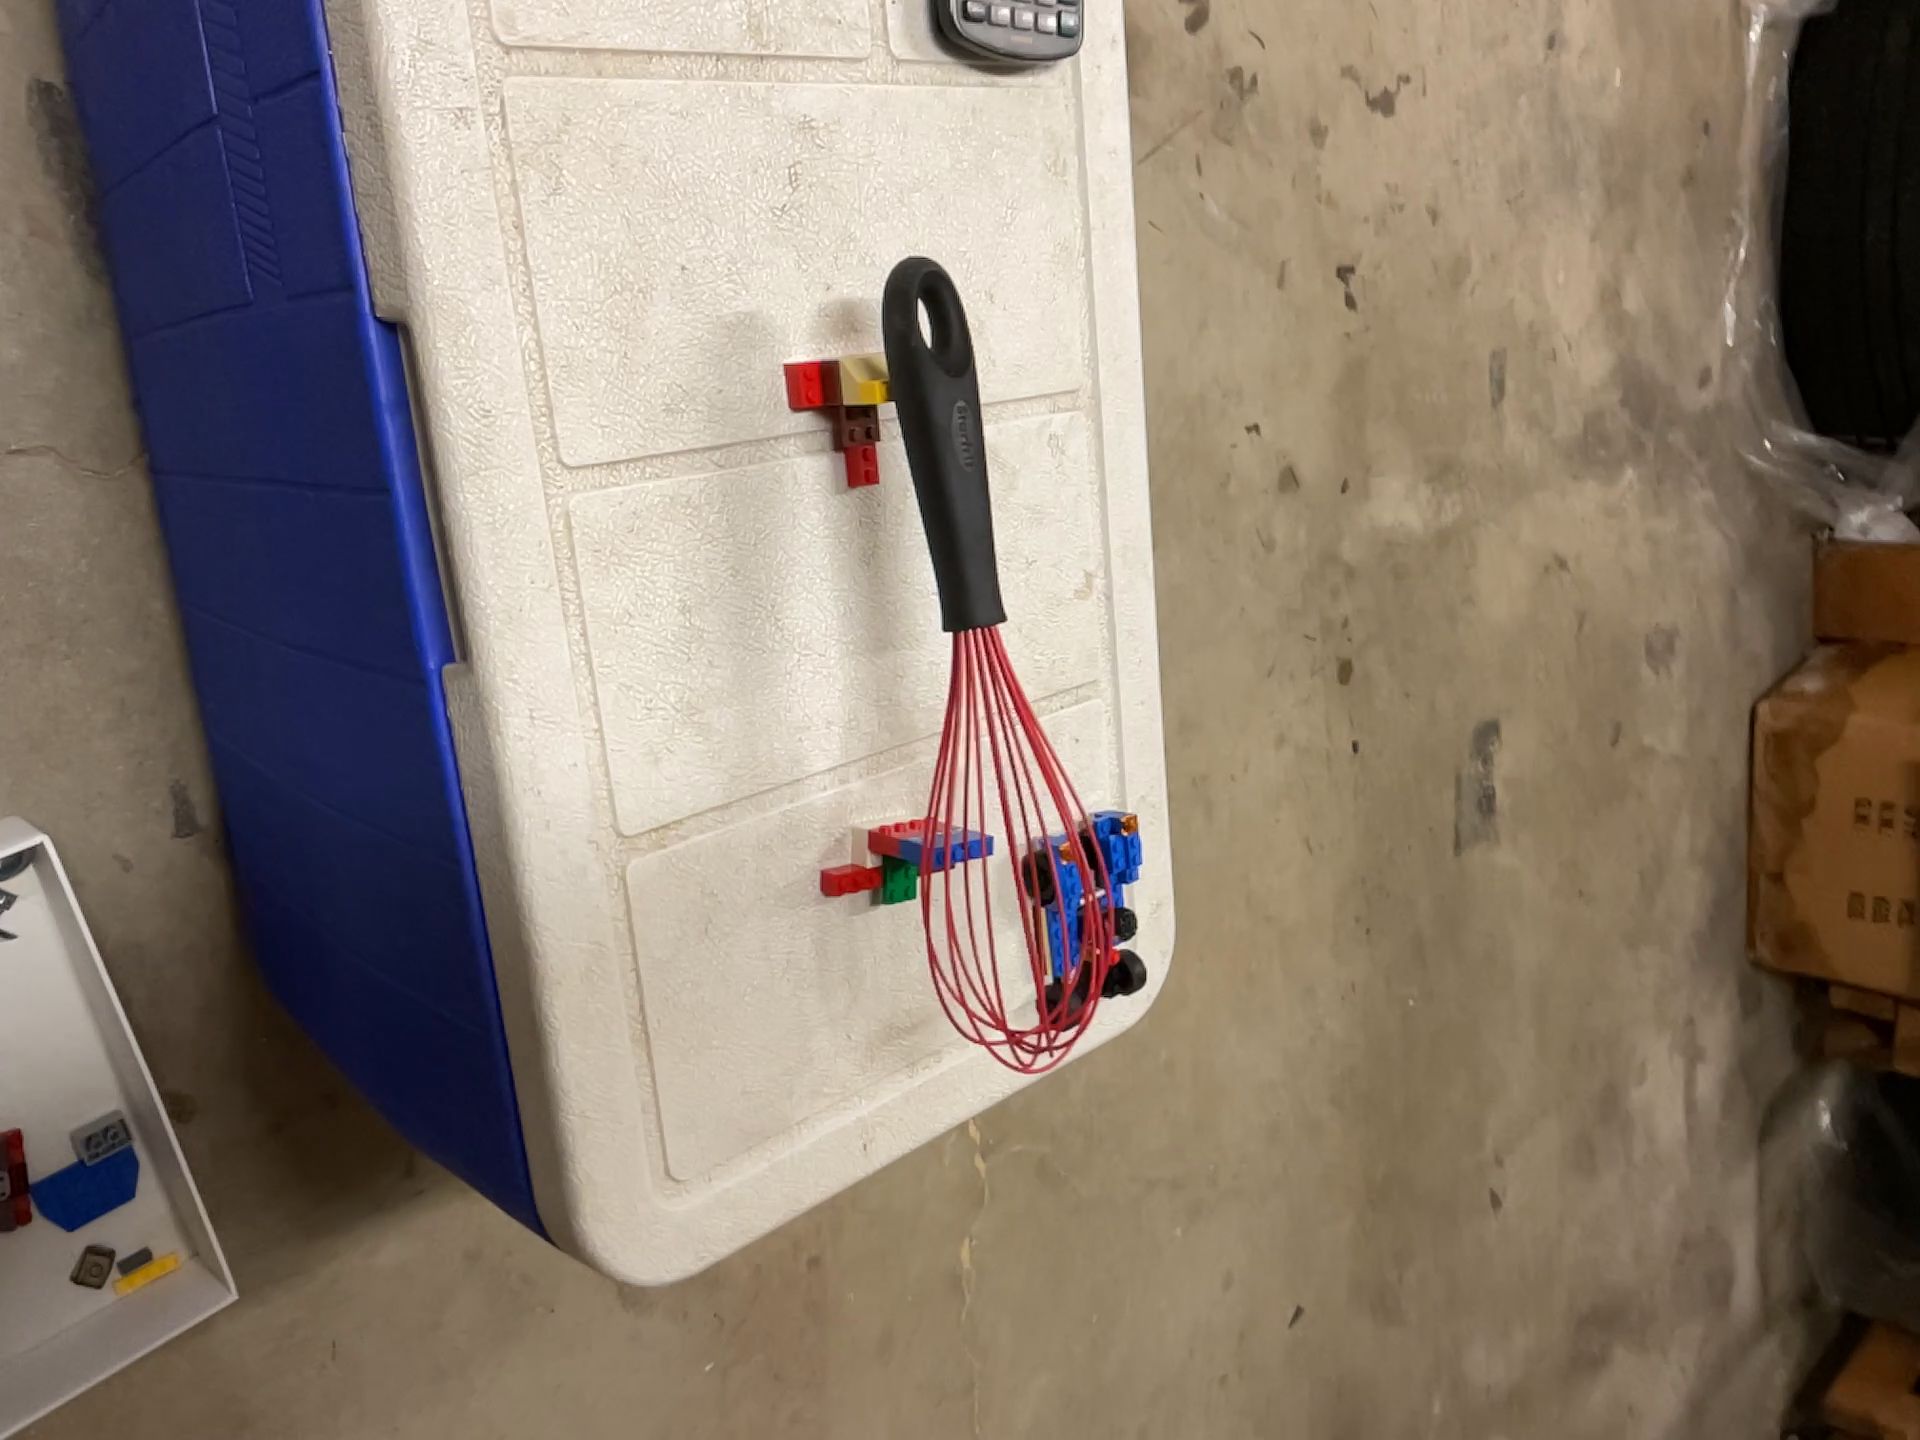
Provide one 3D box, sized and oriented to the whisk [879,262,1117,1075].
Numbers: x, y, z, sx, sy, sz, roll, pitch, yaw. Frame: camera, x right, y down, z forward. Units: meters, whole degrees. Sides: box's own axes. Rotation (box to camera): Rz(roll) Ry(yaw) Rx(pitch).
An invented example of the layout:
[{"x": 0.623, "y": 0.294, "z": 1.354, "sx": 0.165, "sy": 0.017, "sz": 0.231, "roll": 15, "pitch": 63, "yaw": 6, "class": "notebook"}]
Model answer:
[{"x": 0.008, "y": -0.015, "z": 0.572, "sx": 0.073, "sy": 0.073, "sz": 0.296, "roll": -15, "pitch": 99, "yaw": -38, "class": "whisk"}]
